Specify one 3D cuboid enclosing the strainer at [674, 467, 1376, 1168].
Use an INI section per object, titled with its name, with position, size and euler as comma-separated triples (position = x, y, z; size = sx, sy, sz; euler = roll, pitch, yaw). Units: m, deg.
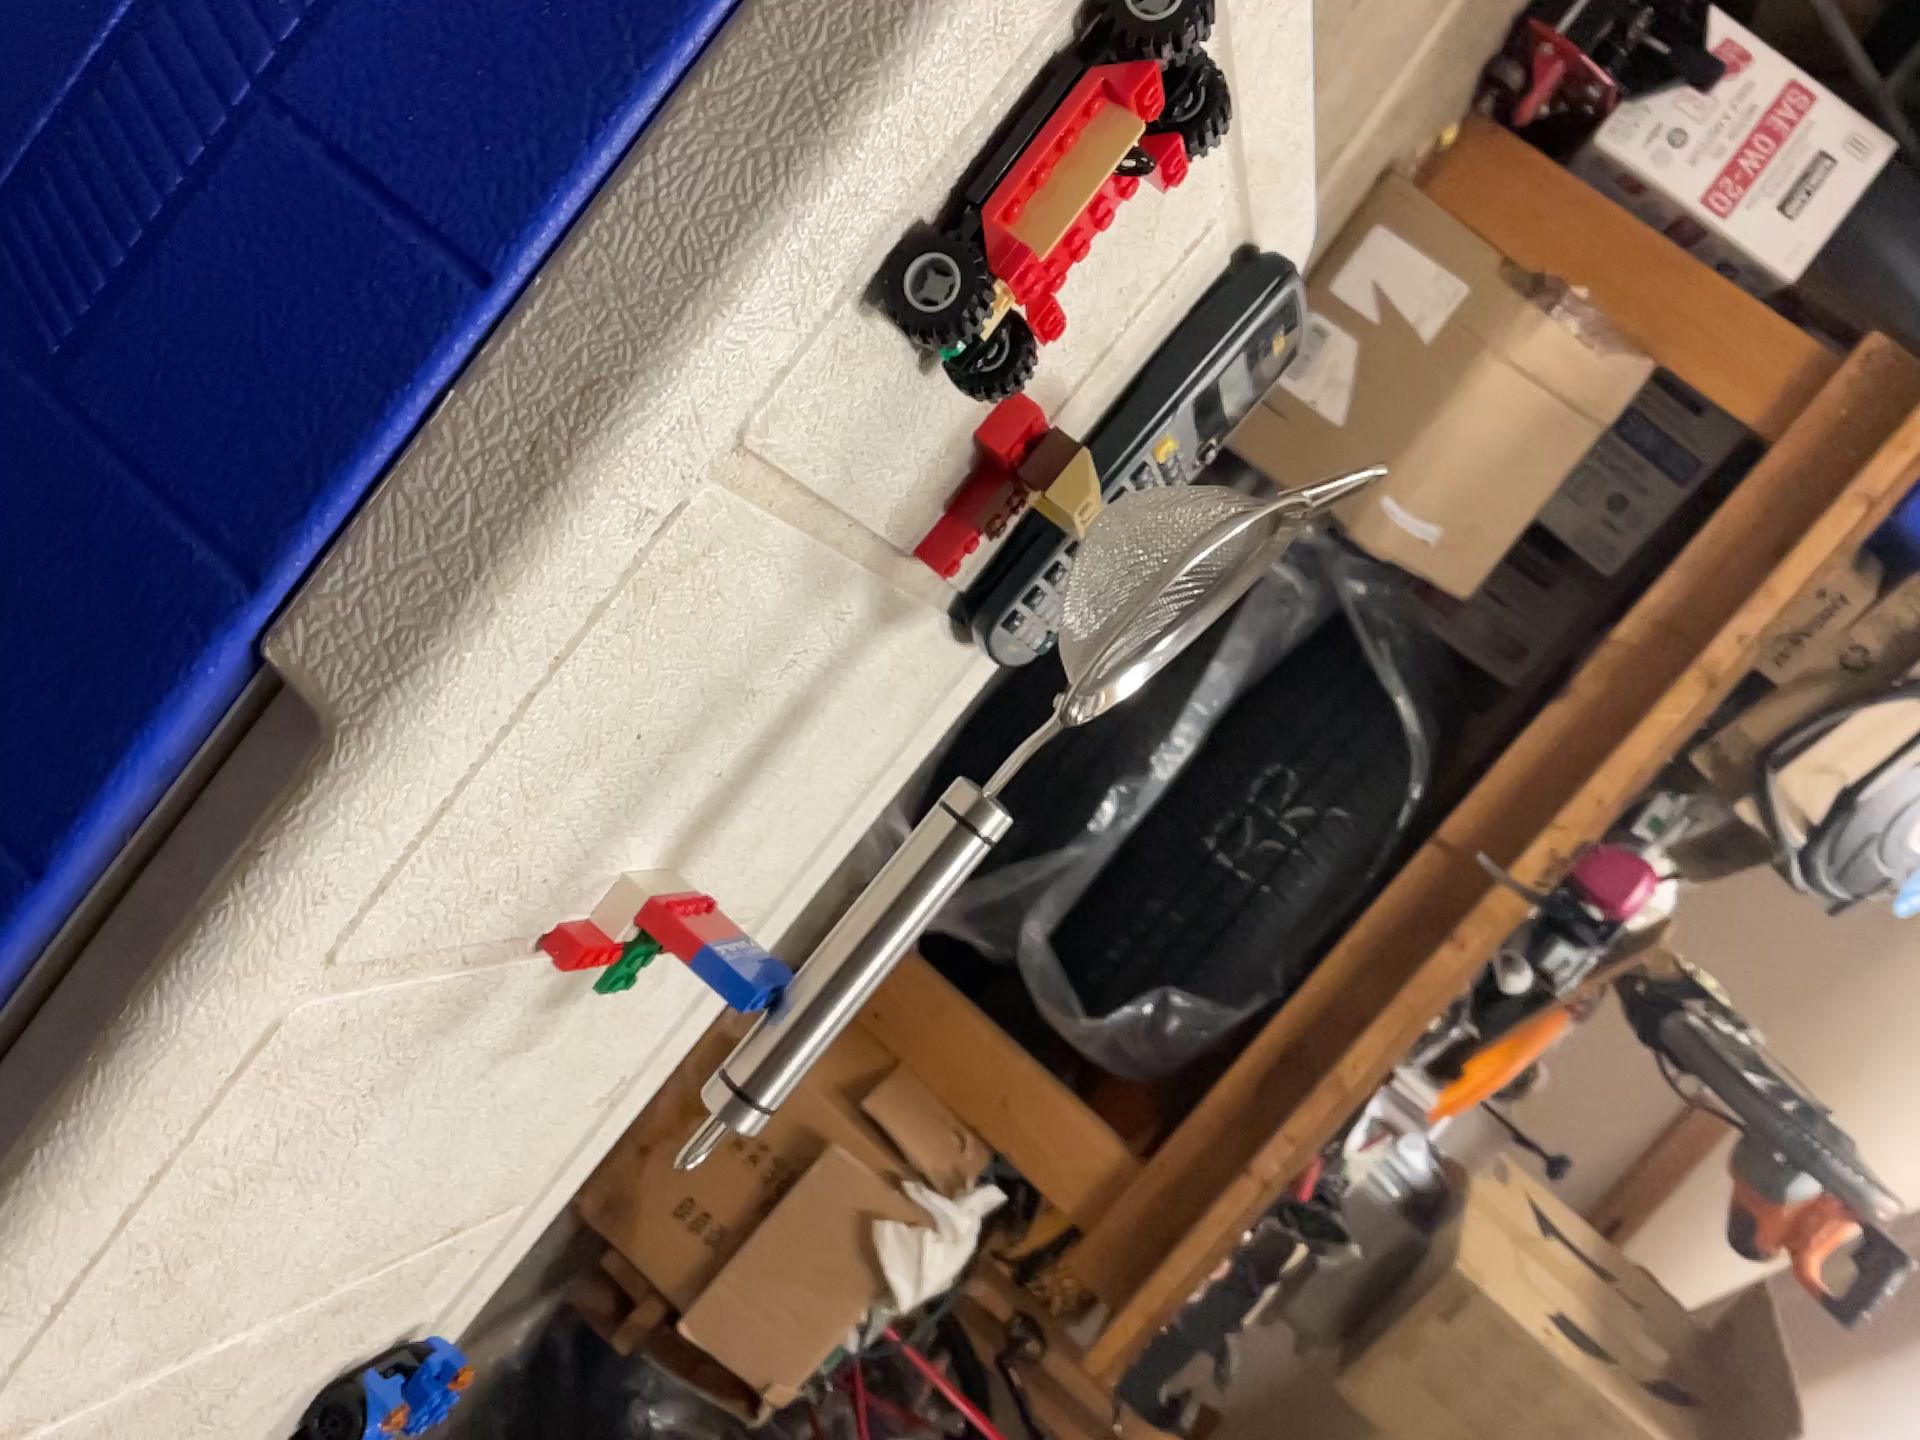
[strainer]
position = 0.007, 0.019, 0.423
size = 0.258, 0.050, 0.087
euler = -50, 166, 0
